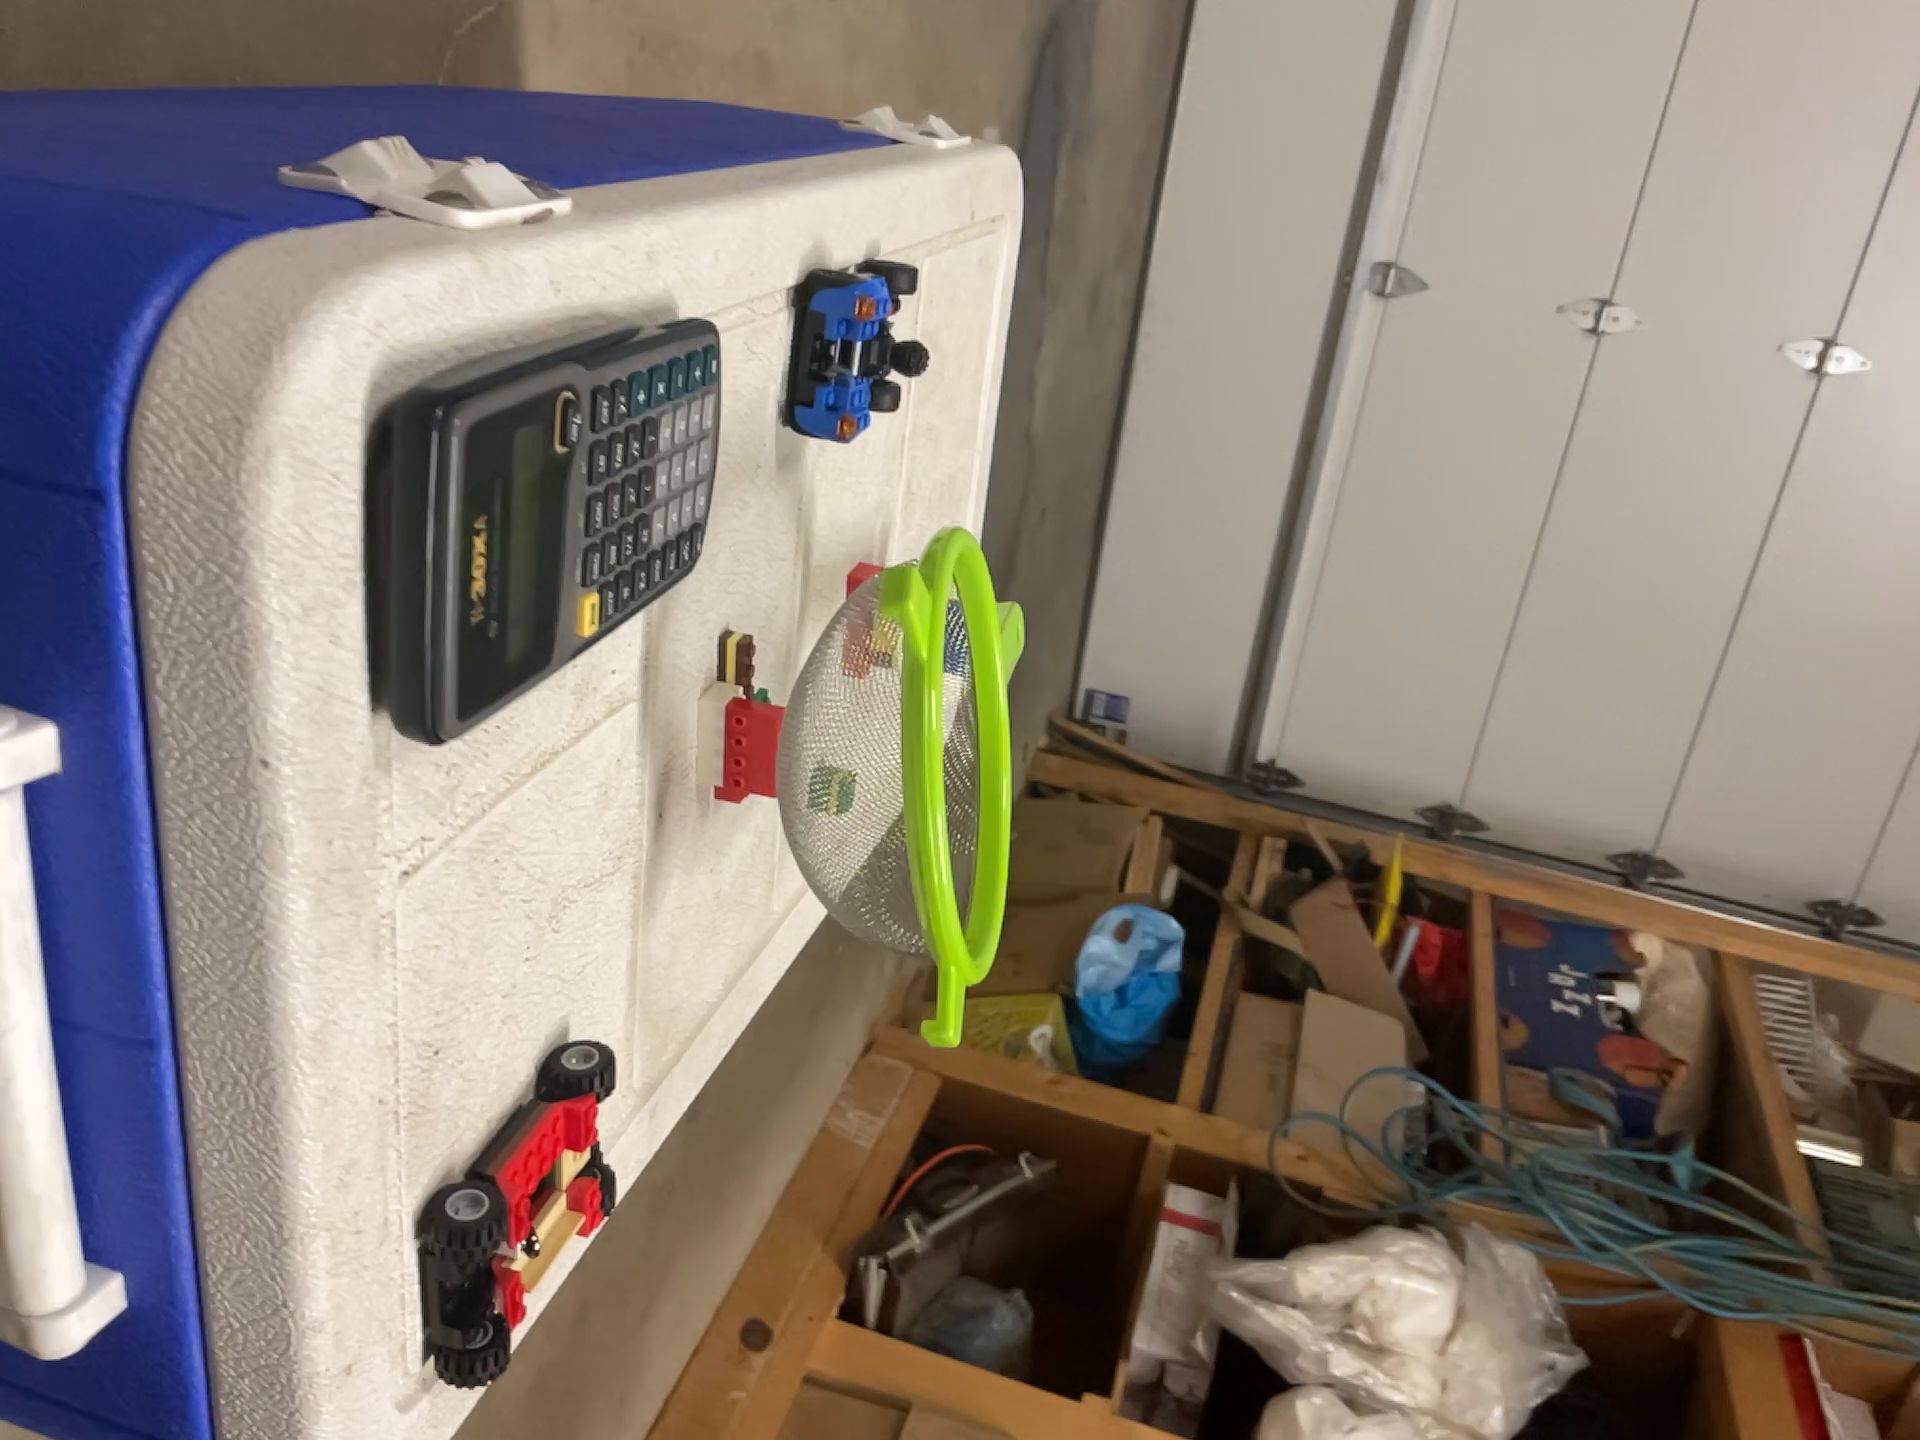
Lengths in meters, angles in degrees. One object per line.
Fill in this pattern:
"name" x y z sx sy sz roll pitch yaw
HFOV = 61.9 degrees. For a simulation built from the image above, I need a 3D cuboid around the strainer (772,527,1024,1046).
"strainer" -0.019 -0.003 0.584 0.256 0.069 0.151 -68 154 -71
